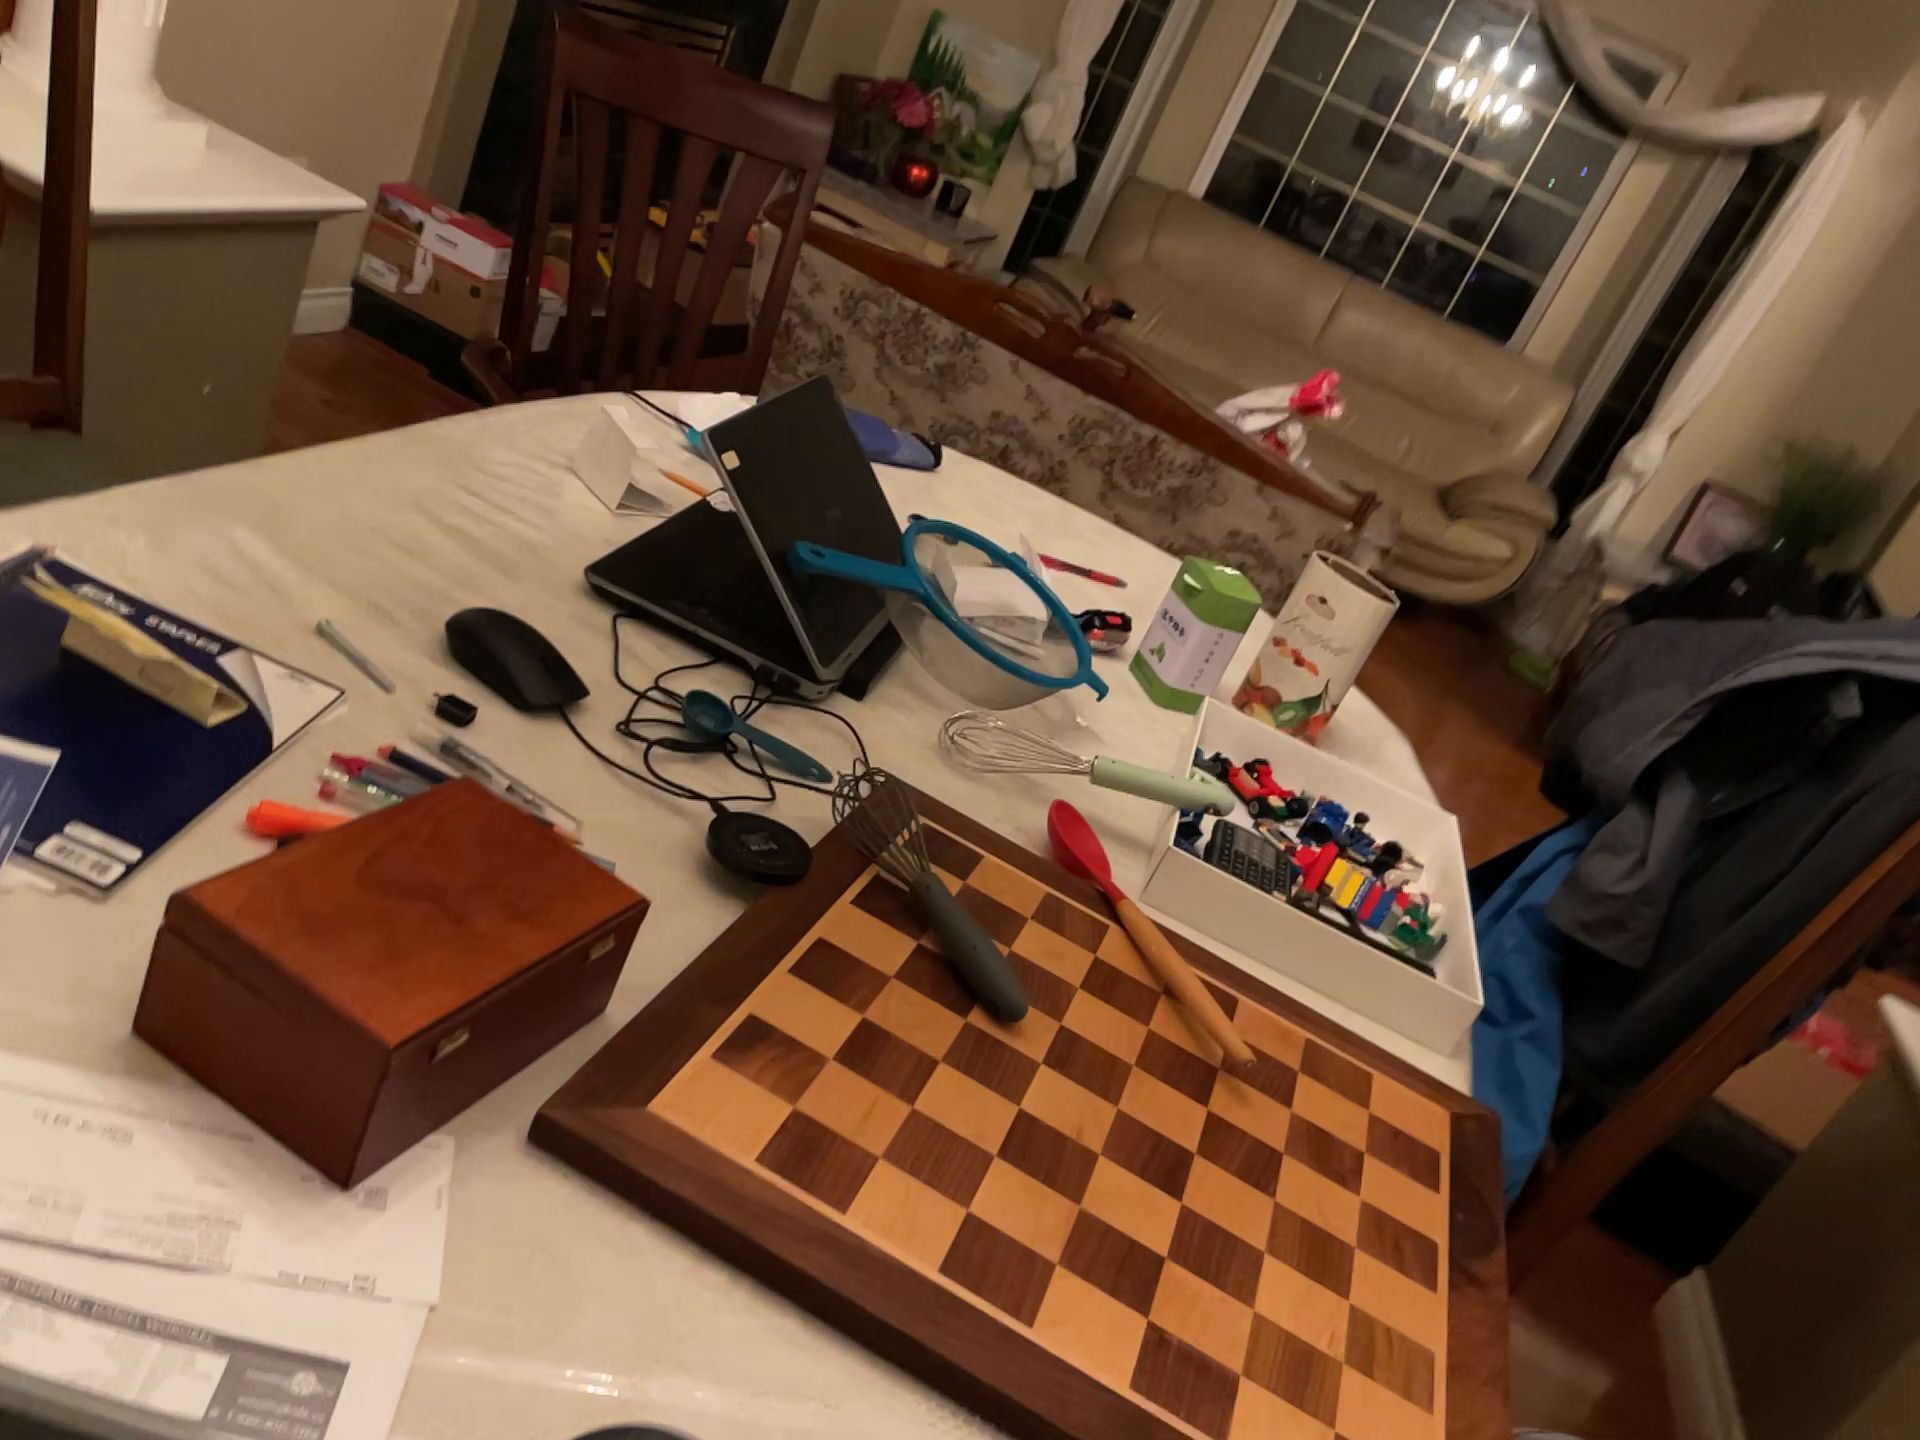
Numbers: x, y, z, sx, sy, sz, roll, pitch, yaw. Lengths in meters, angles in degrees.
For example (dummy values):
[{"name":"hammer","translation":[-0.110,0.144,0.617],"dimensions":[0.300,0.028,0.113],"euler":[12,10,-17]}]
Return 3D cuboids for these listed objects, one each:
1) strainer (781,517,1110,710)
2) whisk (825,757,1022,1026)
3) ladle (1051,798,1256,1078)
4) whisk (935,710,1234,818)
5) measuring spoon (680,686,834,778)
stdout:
[{"name":"strainer","translation":[-0.035,-0.086,1.383],"dimensions":[0.340,0.095,0.211],"euler":[10,40,-44]},{"name":"whisk","translation":[-0.025,0.108,1.024],"dimensions":[0.055,0.055,0.239],"euler":[-8,42,-31]},{"name":"ladle","translation":[0.129,0.147,1.112],"dimensions":[0.069,0.031,0.316],"euler":[38,9,-32]},{"name":"whisk","translation":[0.099,0.037,1.279],"dimensions":[0.246,0.057,0.059],"euler":[14,52,9]},{"name":"measuring spoon","translation":[-0.150,0.017,1.162],"dimensions":[0.128,0.021,0.042],"euler":[30,28,-22]}]
